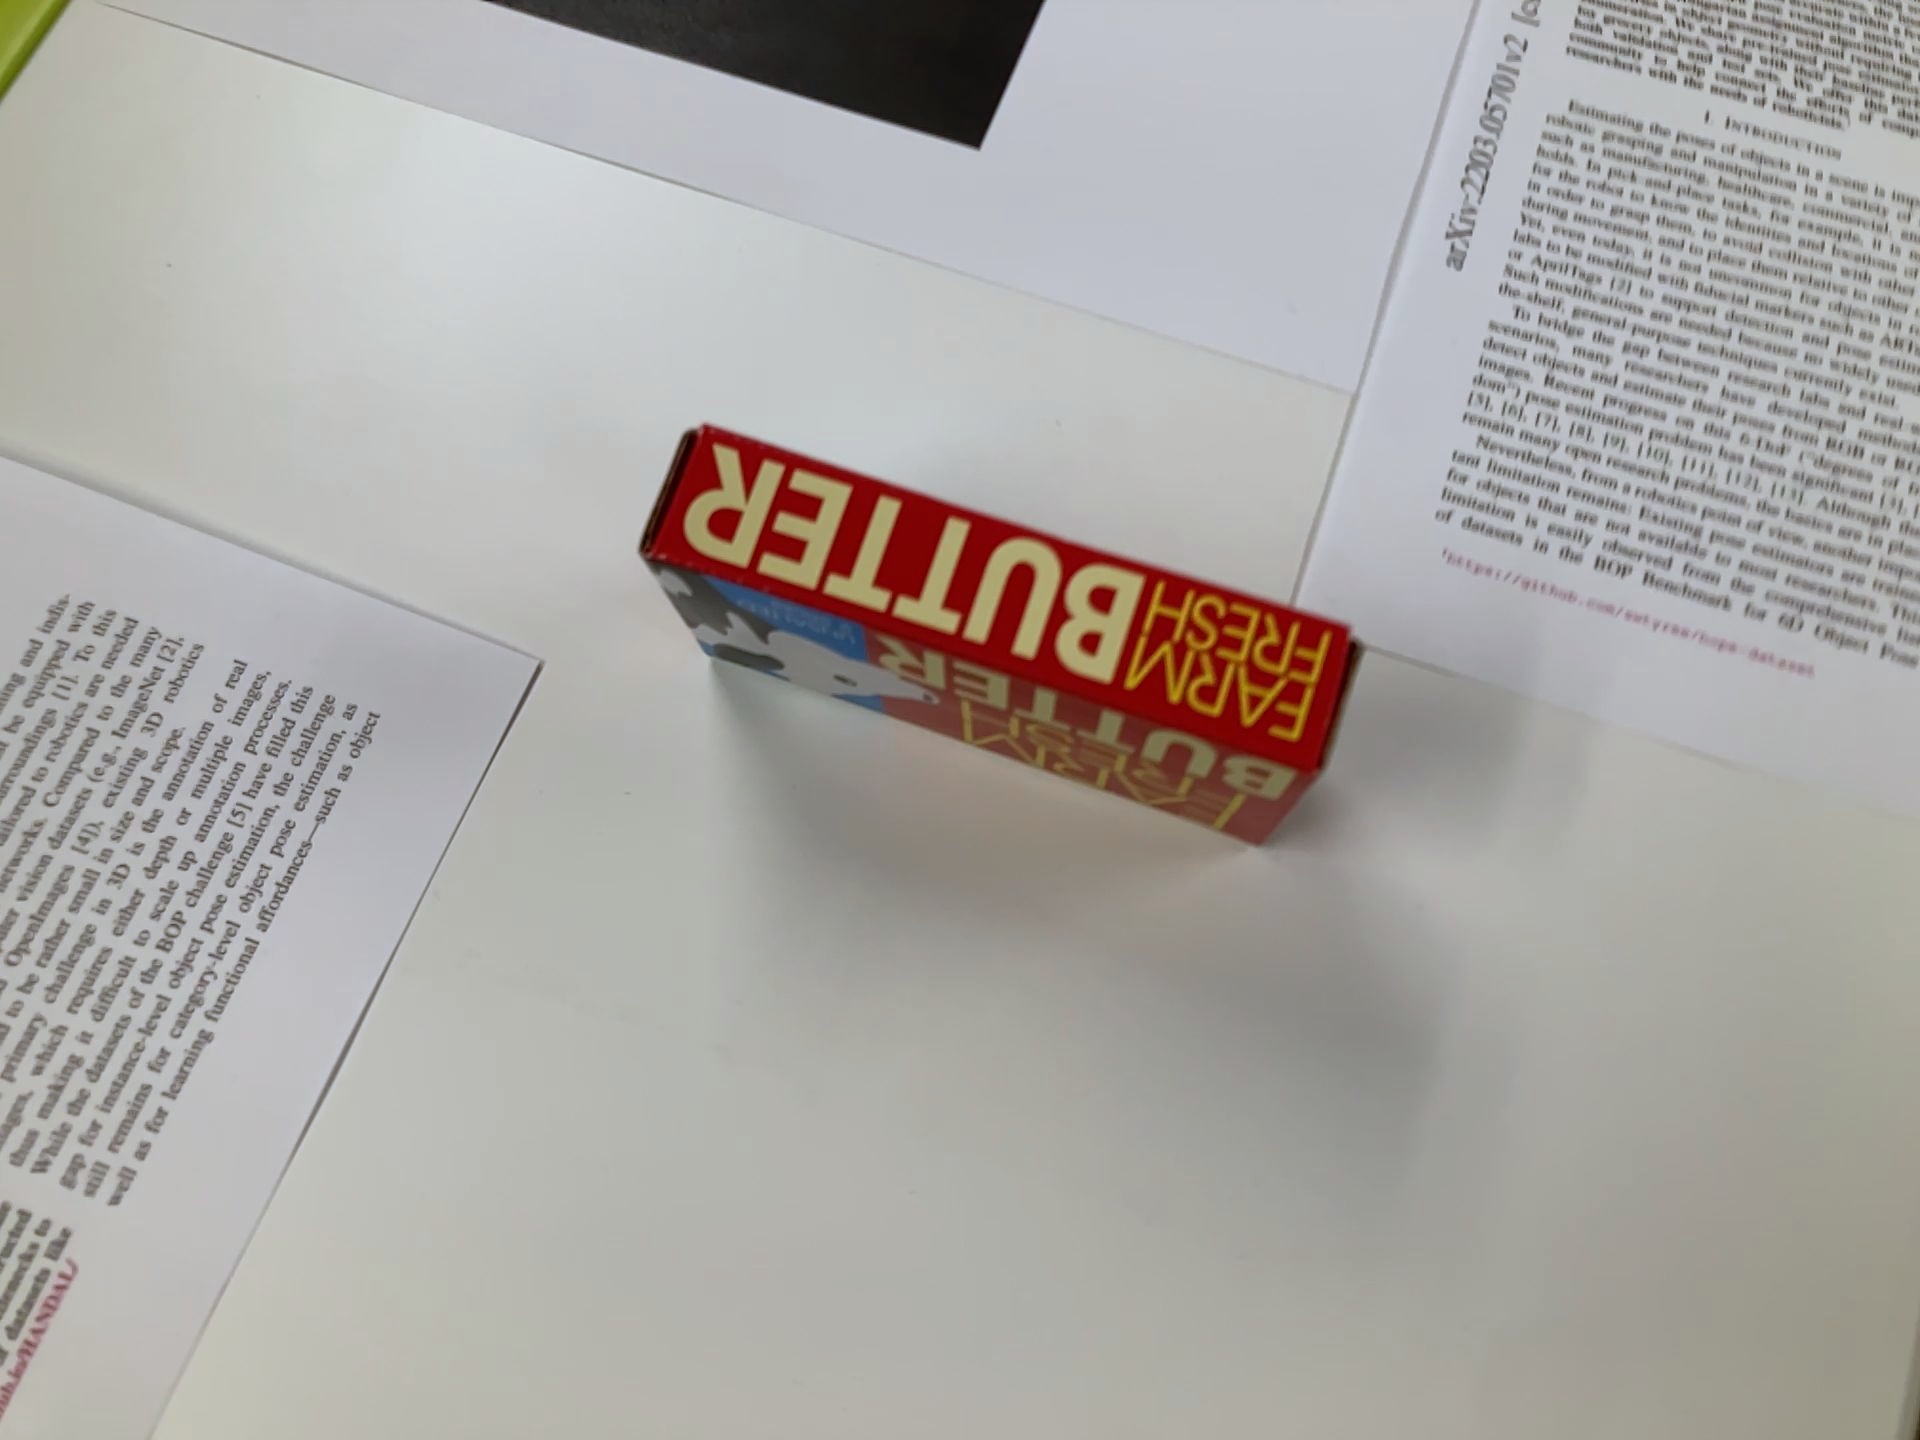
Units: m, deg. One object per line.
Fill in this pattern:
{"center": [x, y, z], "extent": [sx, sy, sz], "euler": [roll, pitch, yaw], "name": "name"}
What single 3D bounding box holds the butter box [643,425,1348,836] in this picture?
{"center": [0.005, -0.012, 0.254], "extent": [0.103, 0.053, 0.024], "euler": [19, 77, 6], "name": "butter box"}
